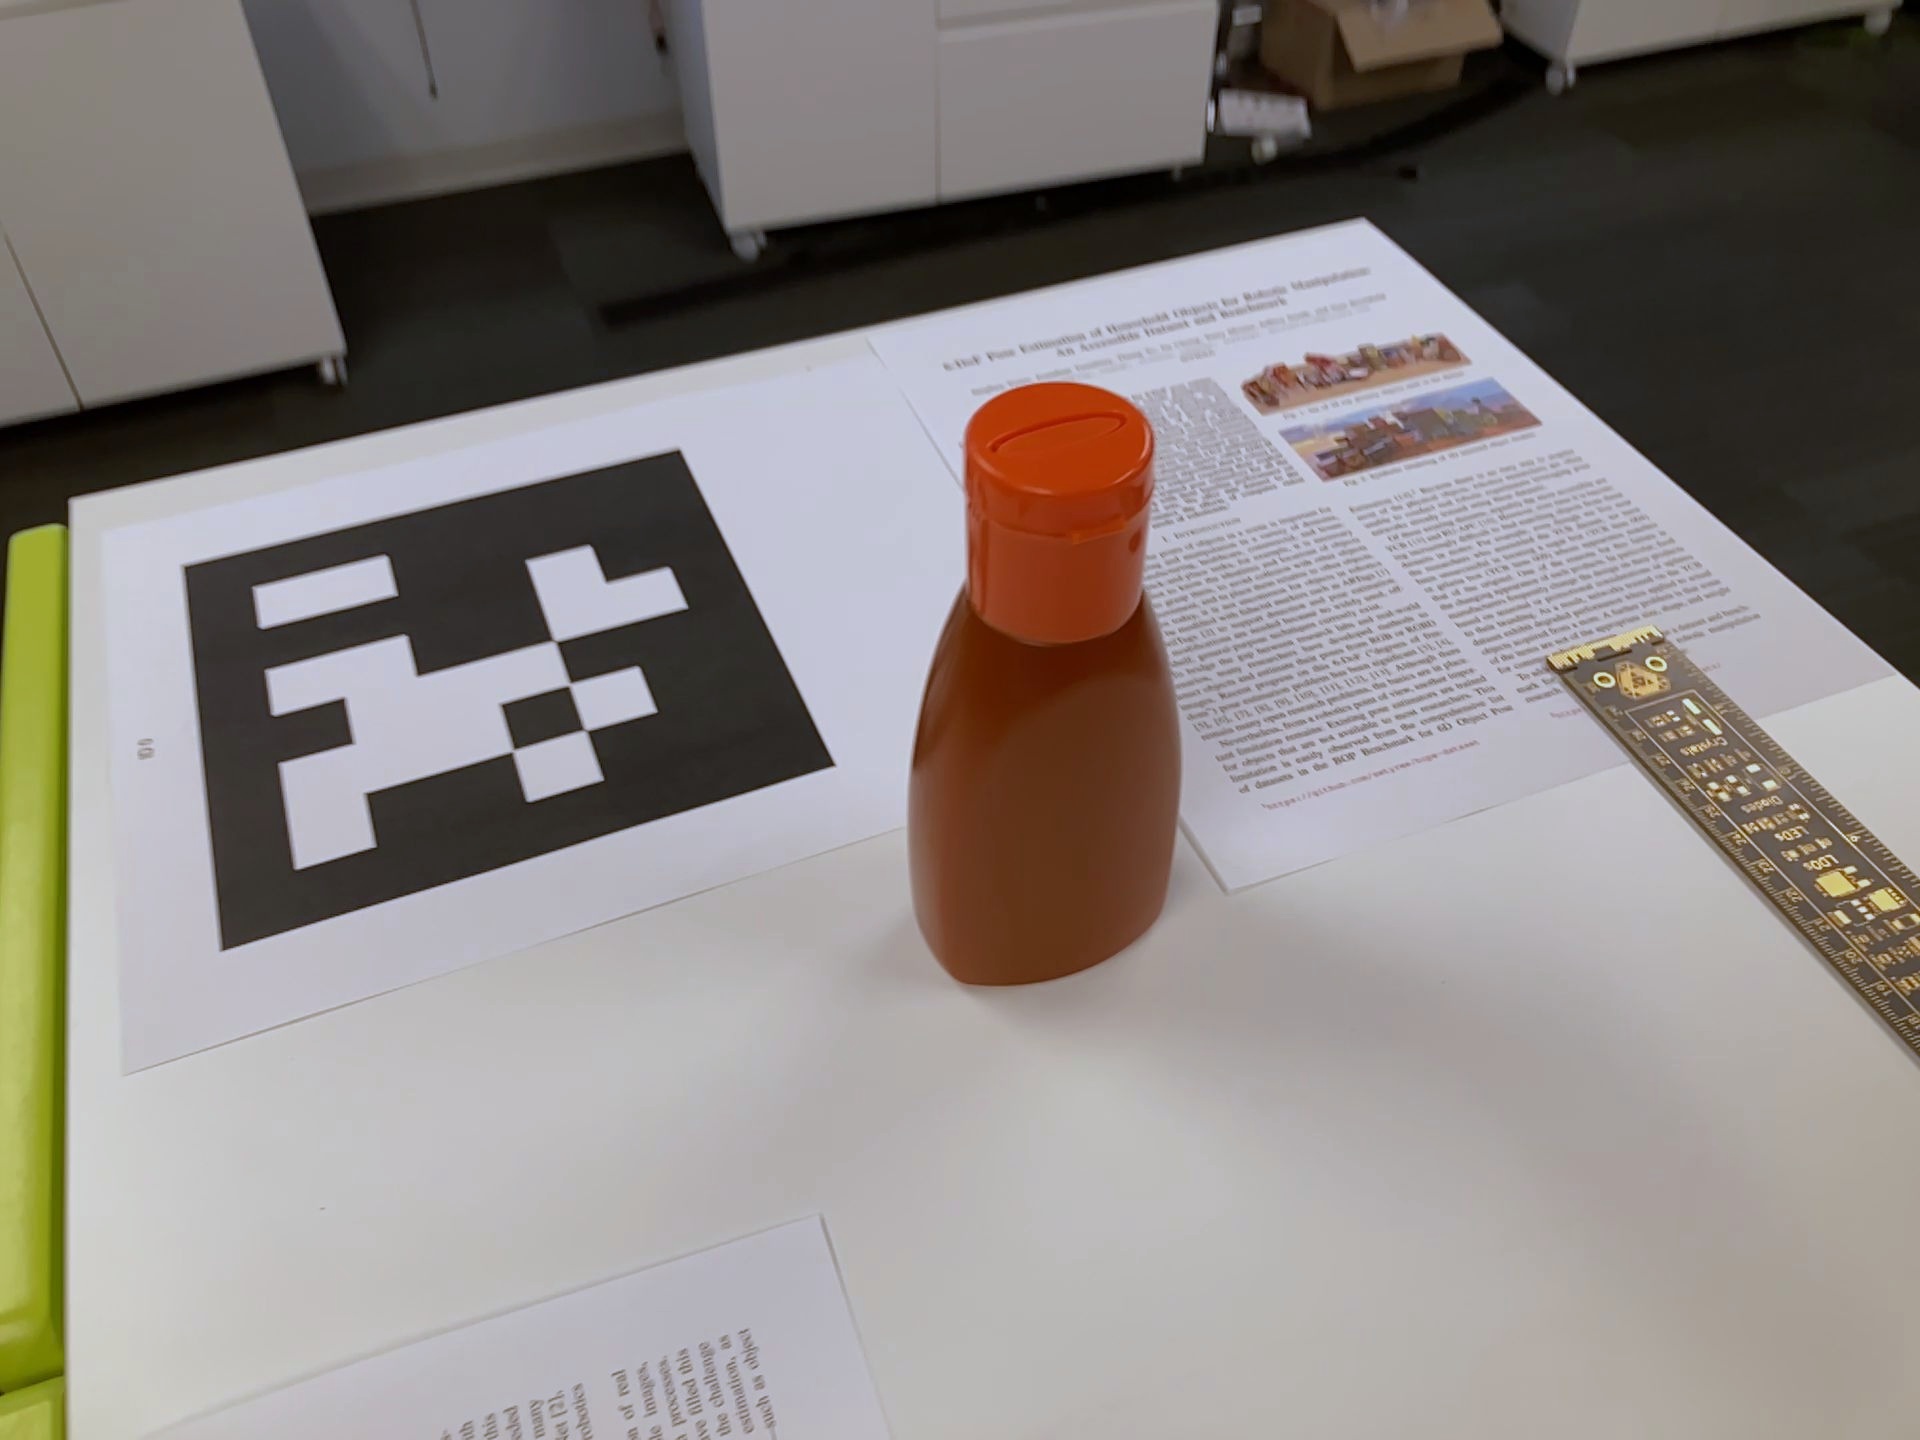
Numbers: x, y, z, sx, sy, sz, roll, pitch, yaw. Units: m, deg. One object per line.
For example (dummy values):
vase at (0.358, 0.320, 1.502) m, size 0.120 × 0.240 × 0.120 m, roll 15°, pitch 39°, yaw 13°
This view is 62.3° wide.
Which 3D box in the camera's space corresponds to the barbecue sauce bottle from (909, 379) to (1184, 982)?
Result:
barbecue sauce bottle at (0.020, -0.003, 0.351) m, size 0.065 × 0.148 × 0.043 m, roll -15°, pitch 48°, yaw -14°
